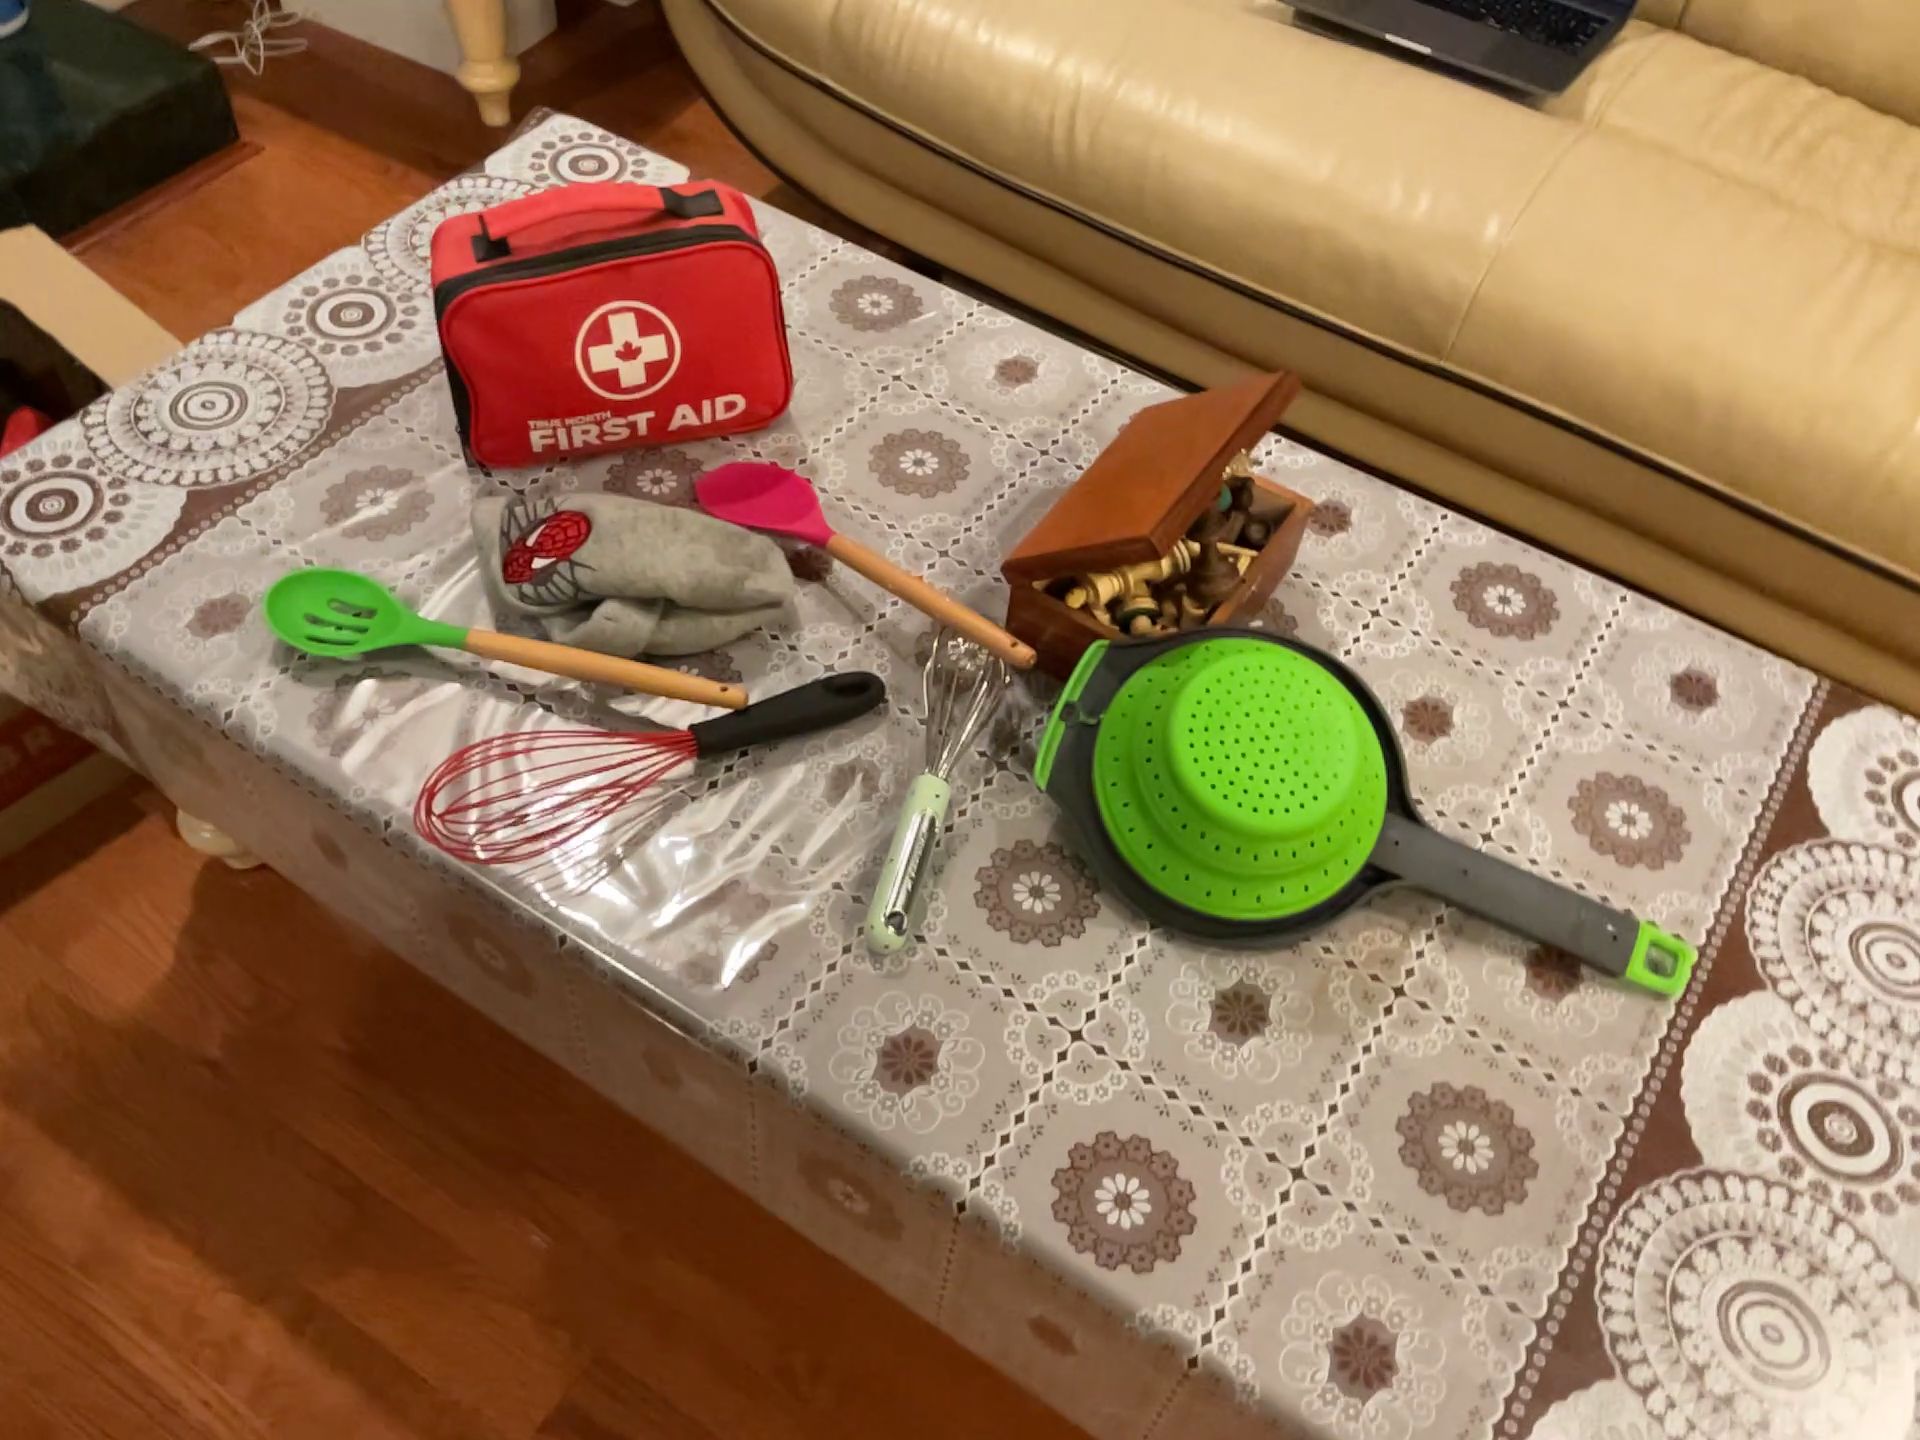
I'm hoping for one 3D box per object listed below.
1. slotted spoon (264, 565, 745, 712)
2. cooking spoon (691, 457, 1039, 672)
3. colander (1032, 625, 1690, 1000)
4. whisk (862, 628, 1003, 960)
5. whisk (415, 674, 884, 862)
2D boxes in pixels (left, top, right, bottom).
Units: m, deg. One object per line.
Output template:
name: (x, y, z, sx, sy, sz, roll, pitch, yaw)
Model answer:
slotted spoon: (-0.285, -0.043, 0.997, 0.314, 0.031, 0.070, 12, 51, 8)
cooking spoon: (-0.068, -0.107, 1.054, 0.069, 0.017, 0.319, -37, 52, -28)
colander: (0.241, 0.059, 0.908, 0.397, 0.094, 0.205, 24, 72, 5)
whisk: (-0.016, 0.039, 0.966, 0.058, 0.059, 0.247, -16, 42, 37)
whisk: (-0.178, 0.018, 0.955, 0.296, 0.073, 0.073, -17, 48, -26)
